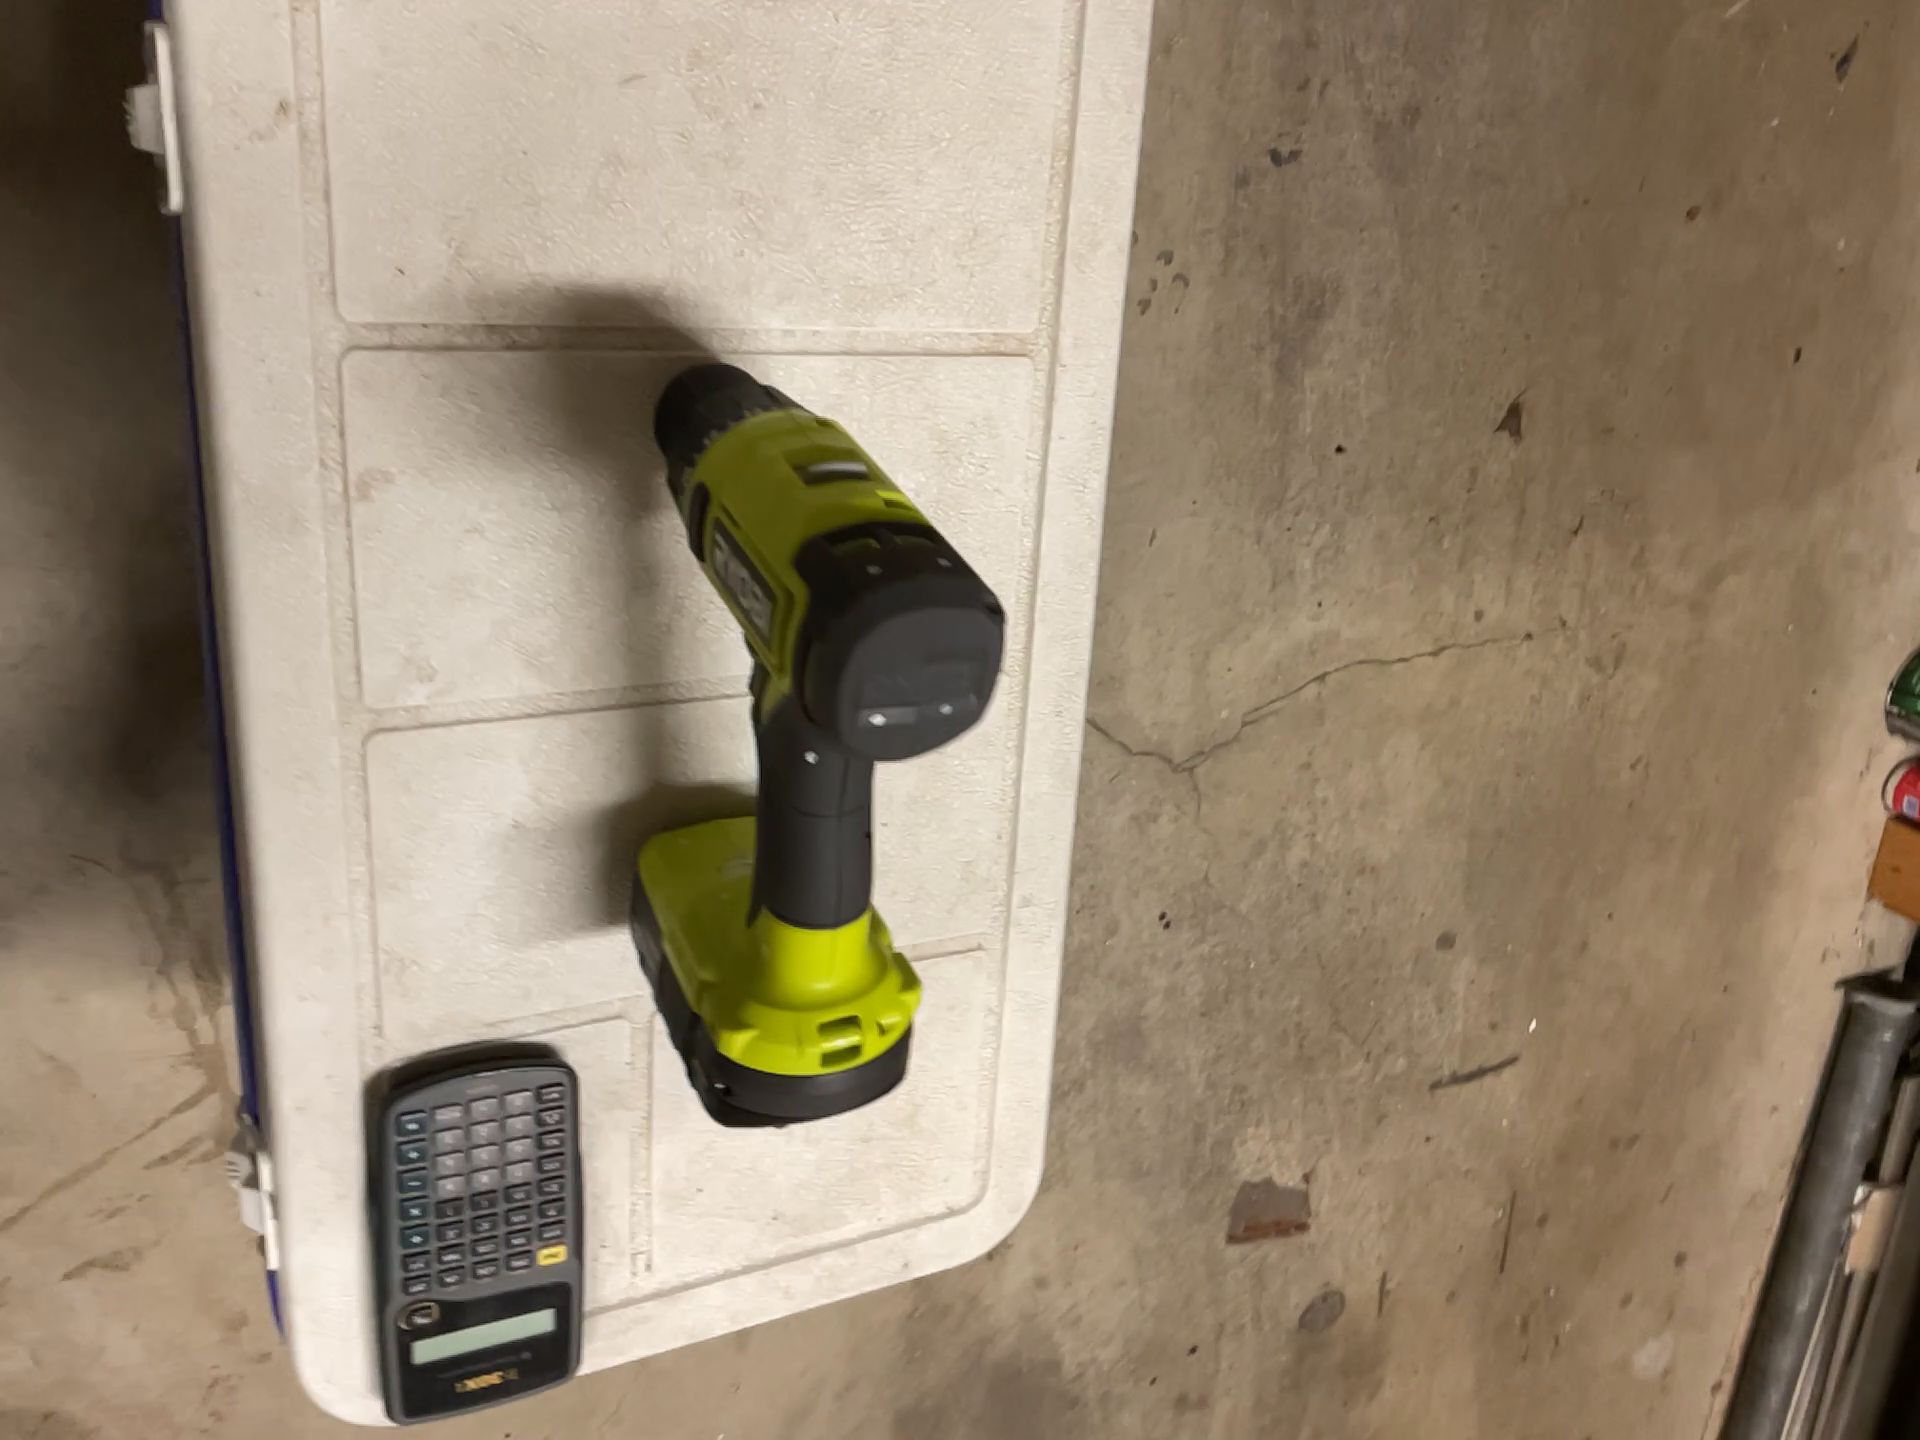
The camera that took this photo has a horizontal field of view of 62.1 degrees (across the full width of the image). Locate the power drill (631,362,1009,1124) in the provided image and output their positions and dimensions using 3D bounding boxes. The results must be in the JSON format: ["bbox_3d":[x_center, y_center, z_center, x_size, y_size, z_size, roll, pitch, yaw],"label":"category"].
[{"bbox_3d":[-0.063,0.004,0.548,0.080,0.190,0.228,-9,127,-26],"label":"power drill"}]
